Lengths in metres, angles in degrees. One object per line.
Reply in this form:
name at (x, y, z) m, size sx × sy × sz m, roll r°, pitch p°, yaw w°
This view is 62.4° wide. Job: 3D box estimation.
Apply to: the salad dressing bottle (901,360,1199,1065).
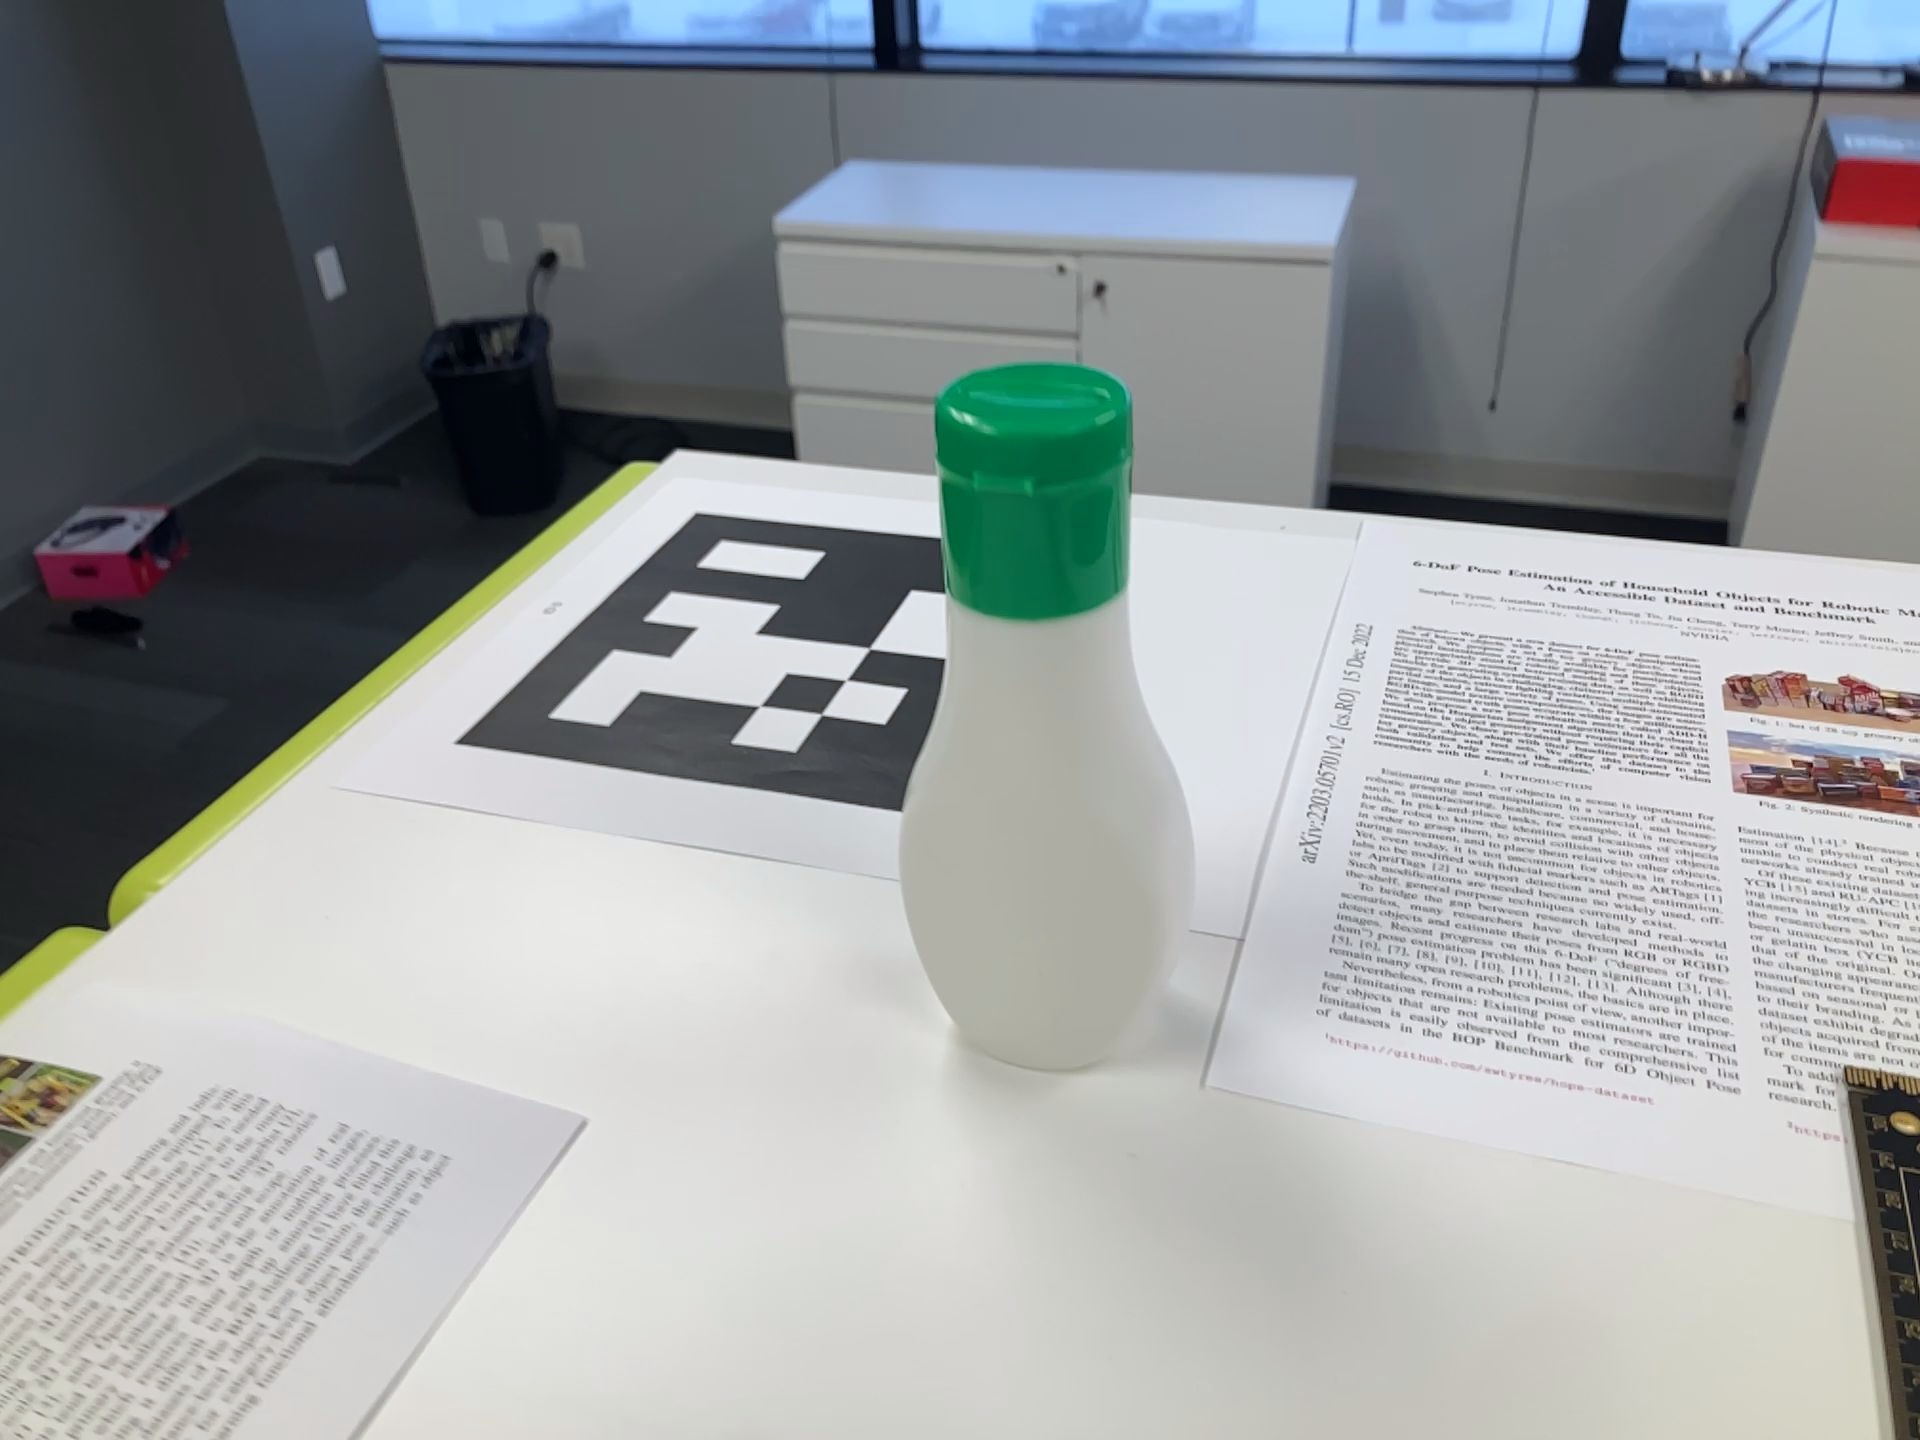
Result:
salad dressing bottle at (0.018, 0.003, 0.325) m, size 0.064 × 0.147 × 0.044 m, roll 8°, pitch 34°, yaw 17°
